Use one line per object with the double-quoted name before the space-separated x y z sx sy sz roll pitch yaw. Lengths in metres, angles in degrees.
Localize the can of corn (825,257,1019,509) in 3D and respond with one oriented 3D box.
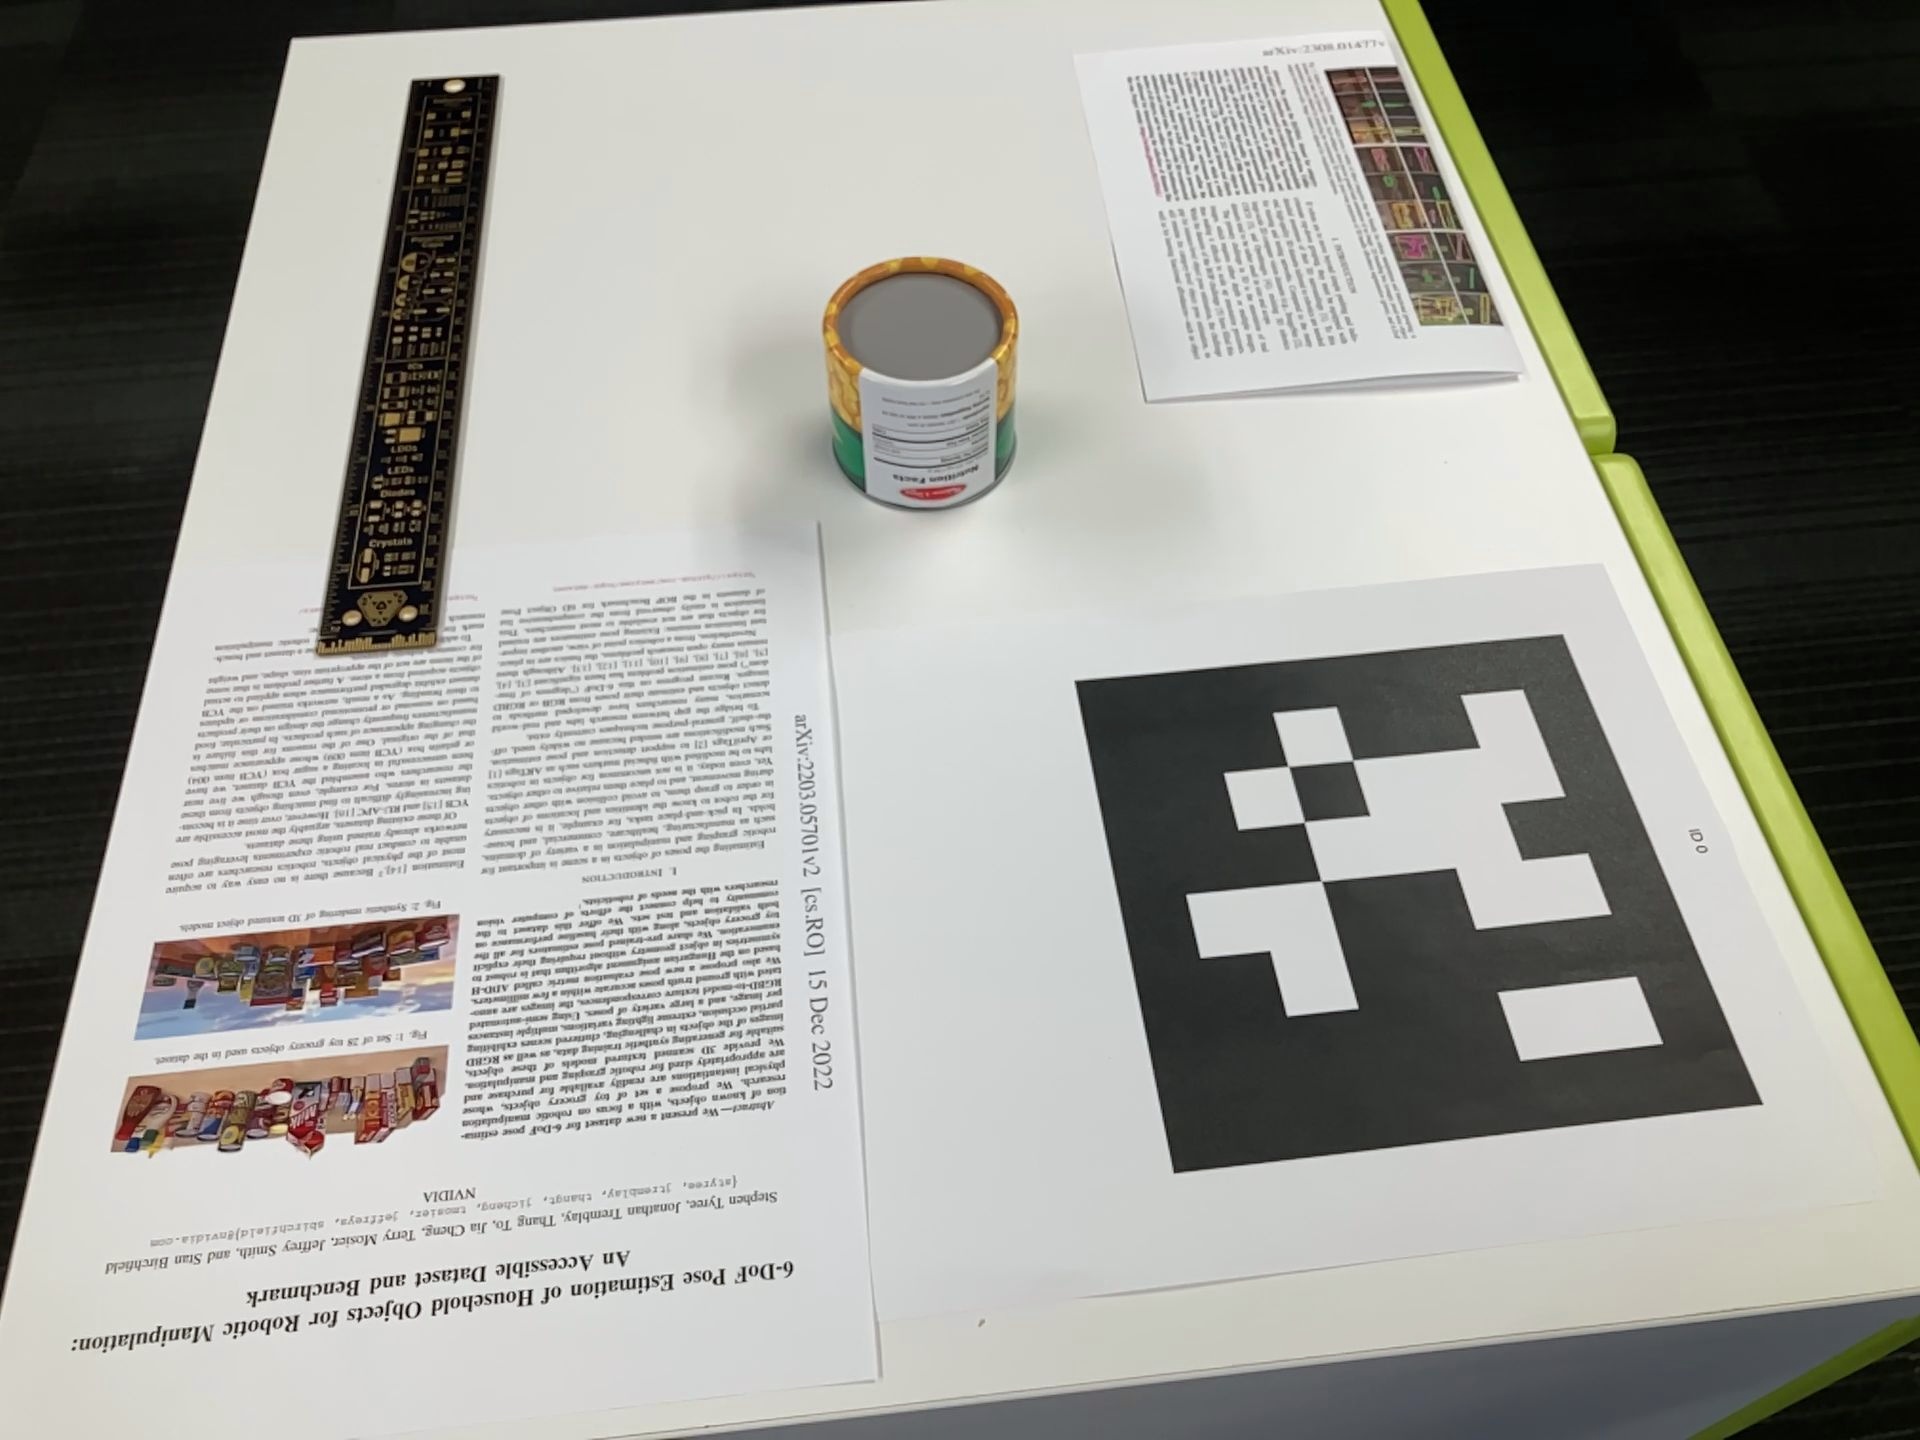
"can of corn" -0.013 -0.120 0.555 0.071 0.058 0.071 0 55 0
